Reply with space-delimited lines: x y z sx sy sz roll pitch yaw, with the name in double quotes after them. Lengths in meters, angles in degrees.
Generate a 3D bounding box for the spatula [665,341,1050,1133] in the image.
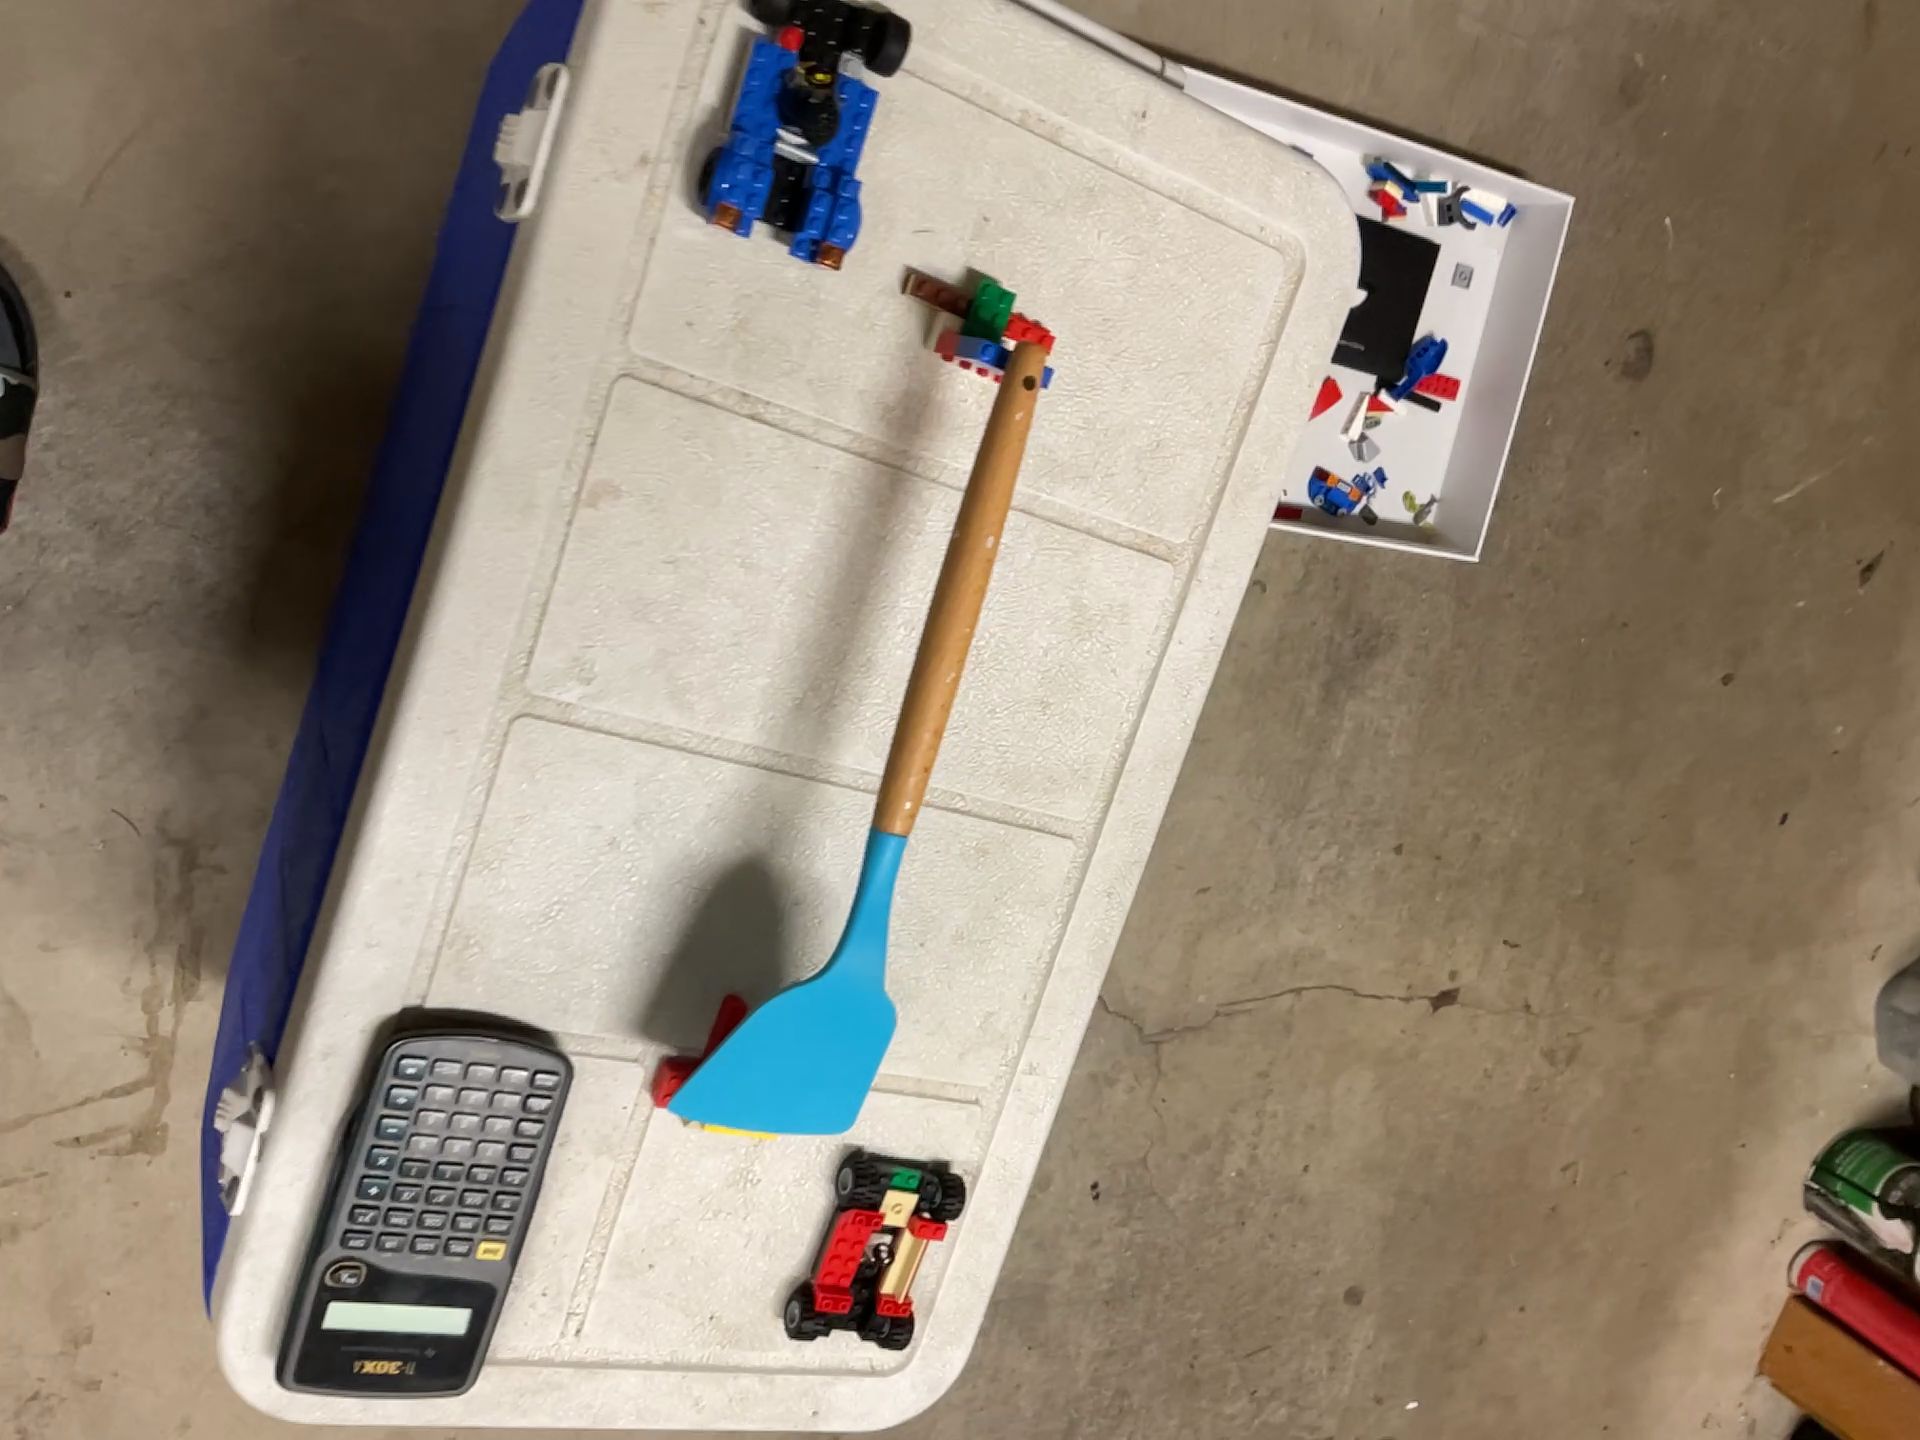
-0.024 0.013 0.597 0.082 0.044 0.317 15 95 -28 "spatula"
